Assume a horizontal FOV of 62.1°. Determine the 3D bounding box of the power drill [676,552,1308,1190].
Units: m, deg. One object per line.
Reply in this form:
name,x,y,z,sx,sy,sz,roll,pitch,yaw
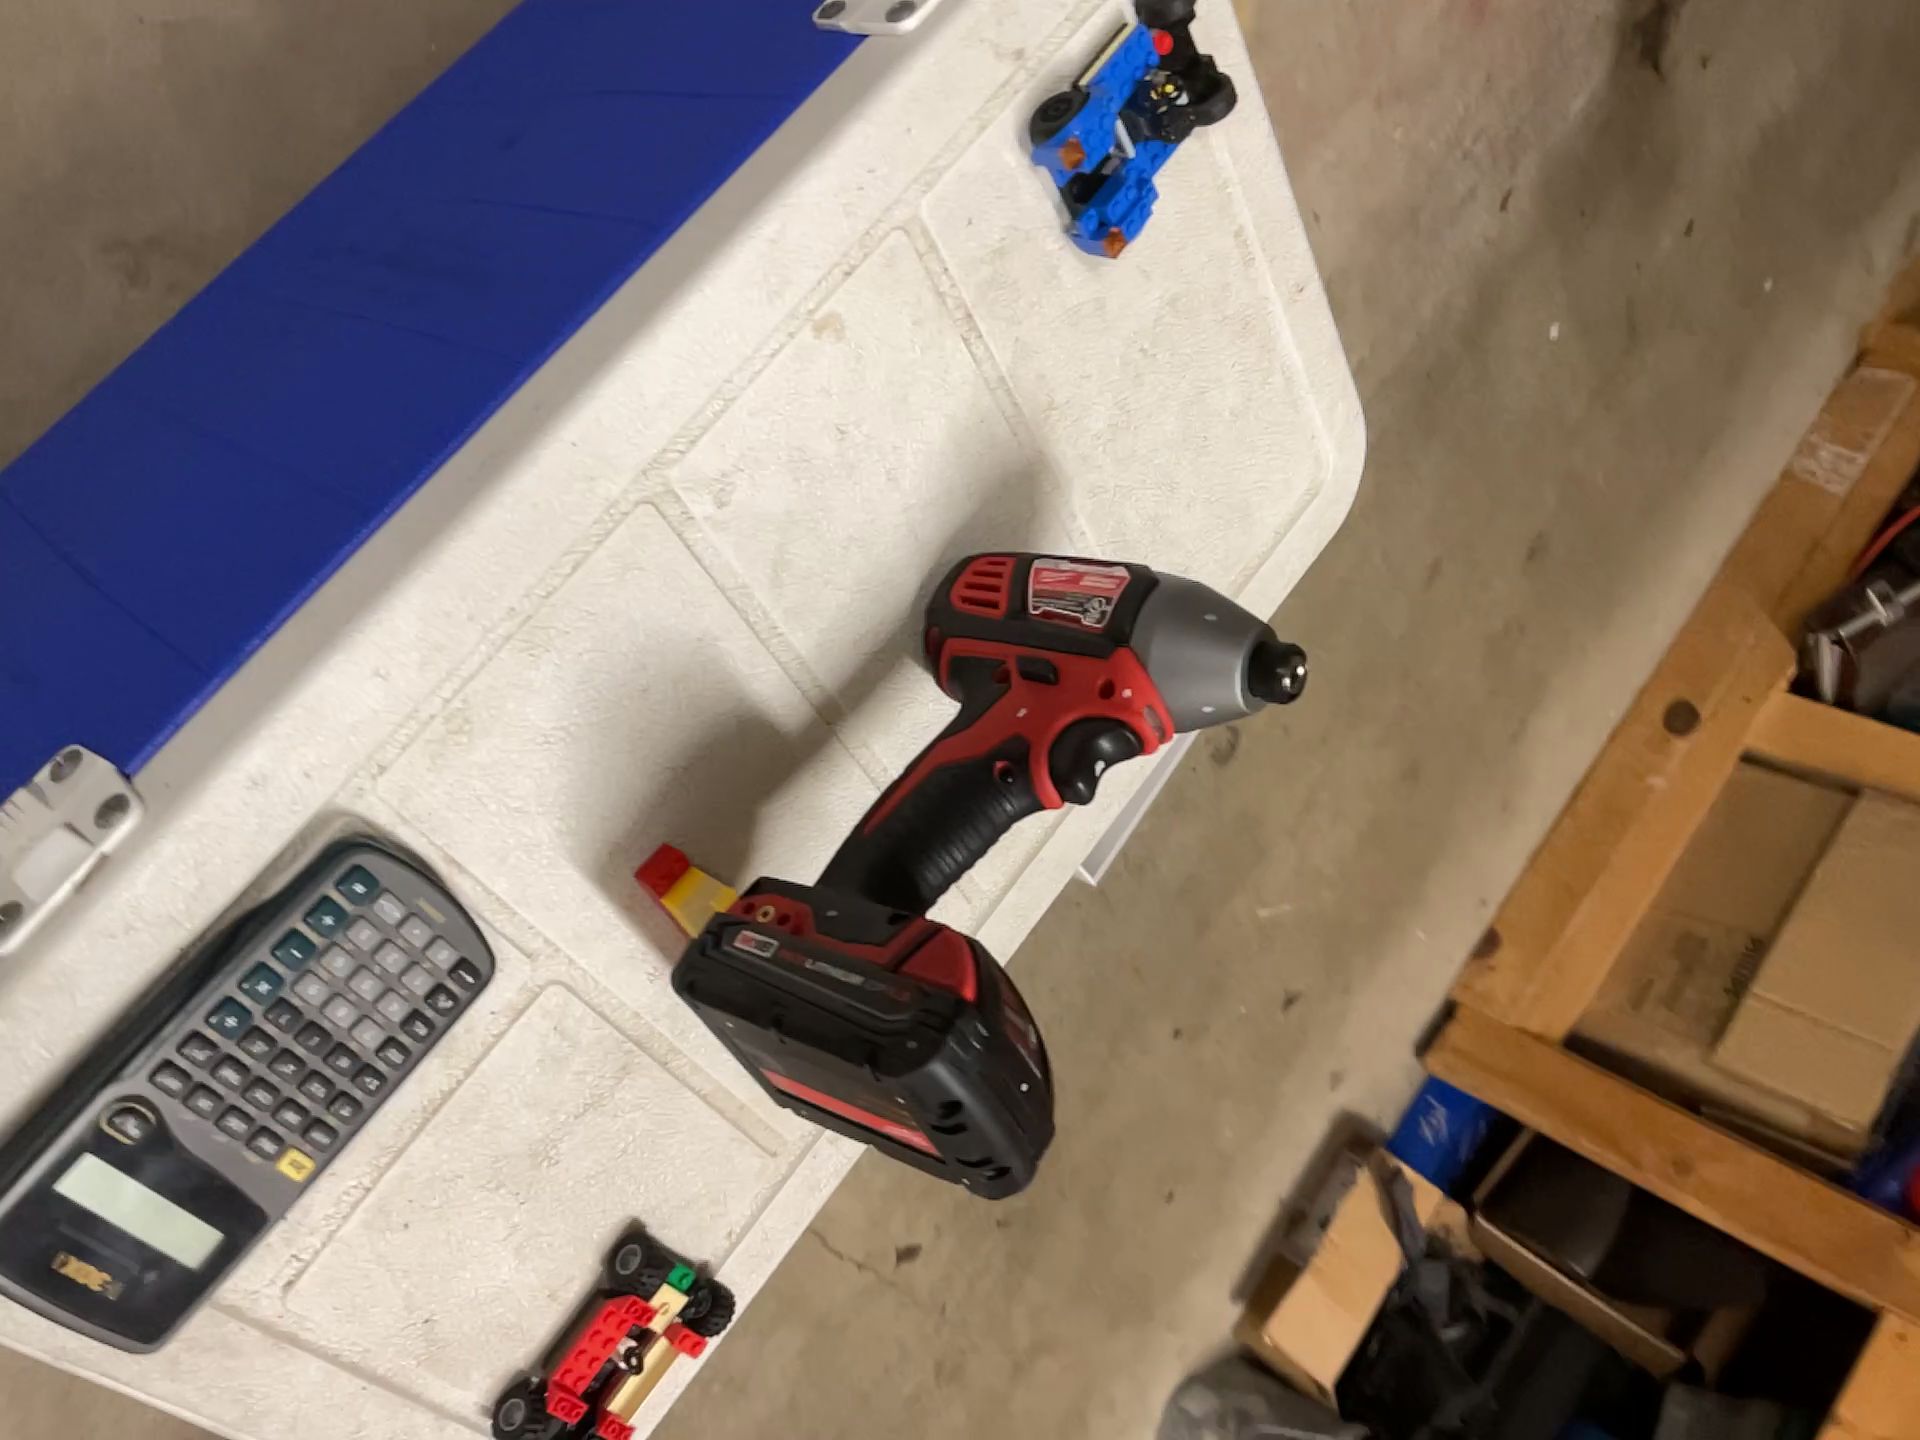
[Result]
power drill,0.019,0.034,0.538,0.220,0.143,0.078,-58,139,-28
